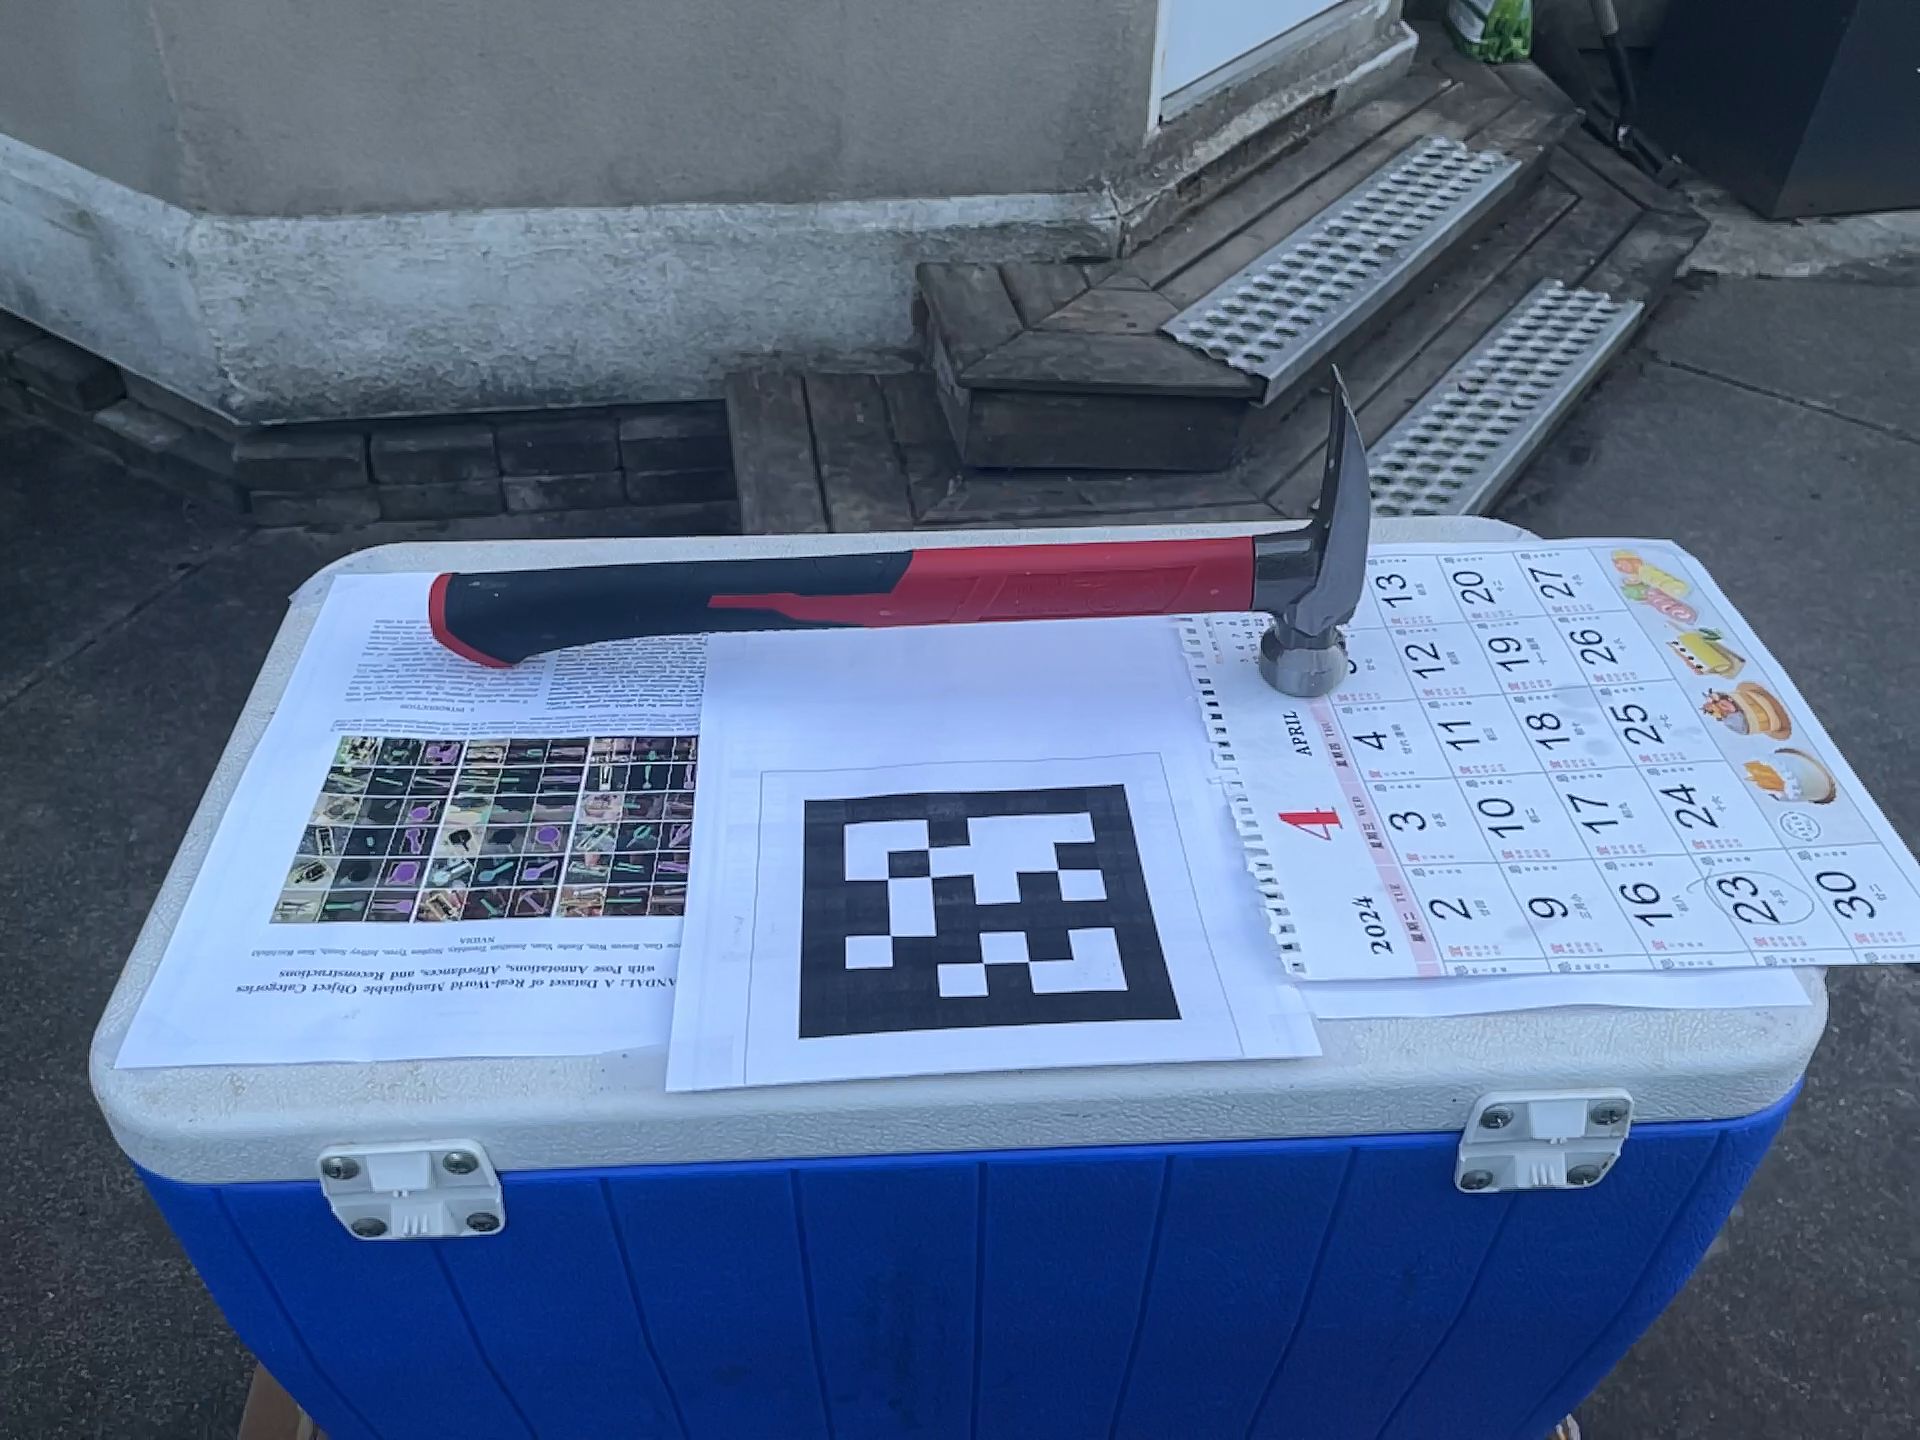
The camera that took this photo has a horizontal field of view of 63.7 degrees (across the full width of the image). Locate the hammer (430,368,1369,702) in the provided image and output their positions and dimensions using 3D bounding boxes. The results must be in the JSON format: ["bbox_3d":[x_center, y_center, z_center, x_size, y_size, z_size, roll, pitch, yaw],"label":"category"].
[{"bbox_3d":[-0.030,-0.066,0.639,0.386,0.143,0.038,-2,41,3],"label":"hammer"}]
